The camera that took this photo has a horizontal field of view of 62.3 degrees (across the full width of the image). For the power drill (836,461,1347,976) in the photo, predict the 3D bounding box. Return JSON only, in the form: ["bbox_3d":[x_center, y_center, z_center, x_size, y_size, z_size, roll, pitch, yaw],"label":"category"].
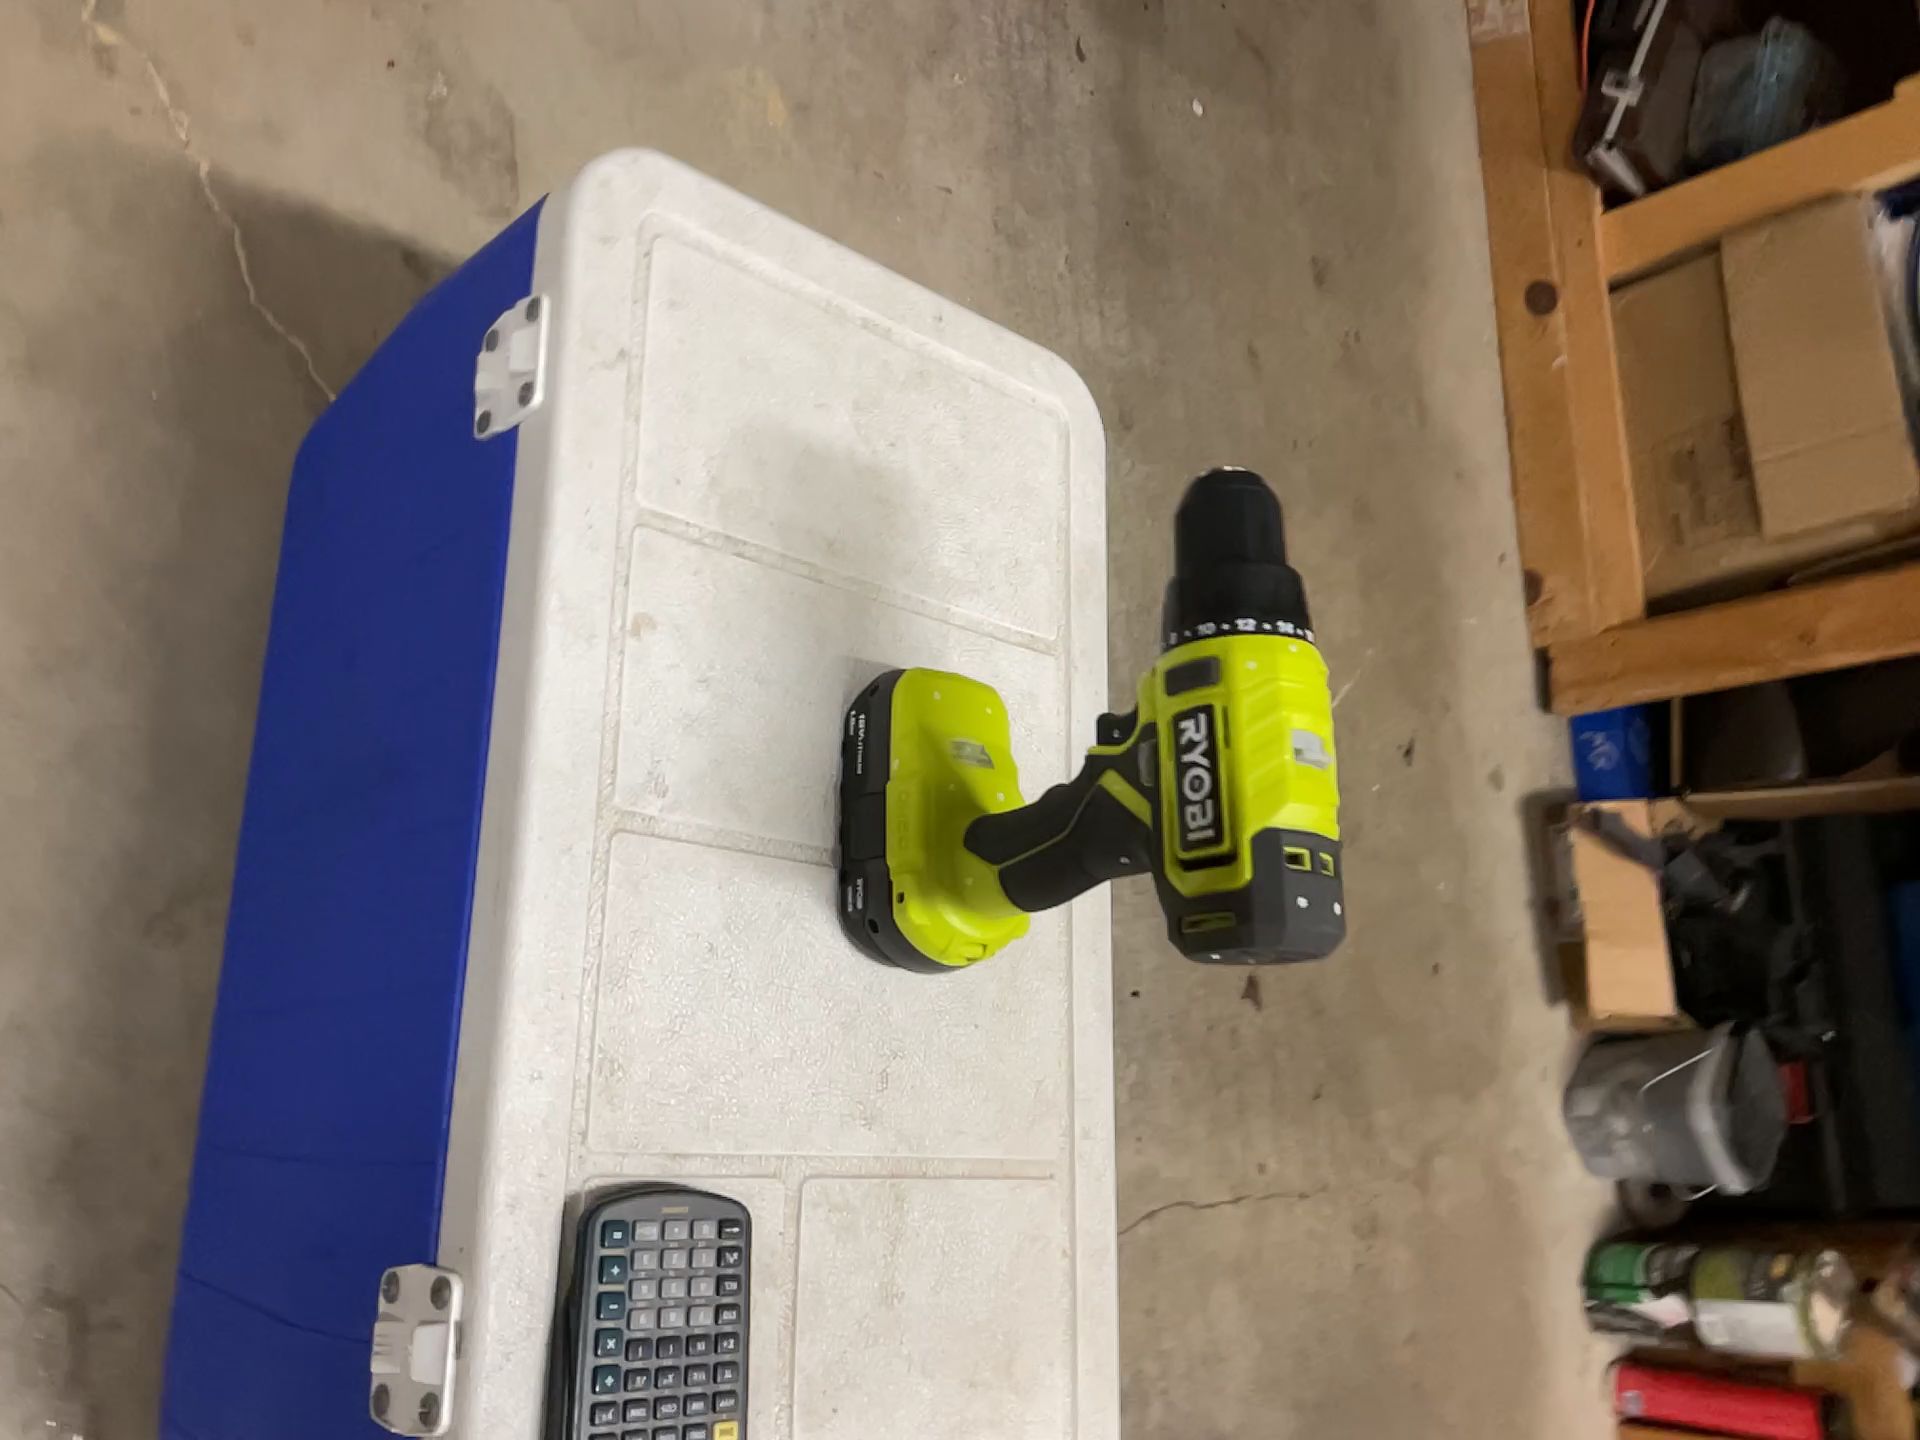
[{"bbox_3d":[0.051,0.011,0.655,0.080,0.228,0.191,14,68,-42],"label":"power drill"}]
